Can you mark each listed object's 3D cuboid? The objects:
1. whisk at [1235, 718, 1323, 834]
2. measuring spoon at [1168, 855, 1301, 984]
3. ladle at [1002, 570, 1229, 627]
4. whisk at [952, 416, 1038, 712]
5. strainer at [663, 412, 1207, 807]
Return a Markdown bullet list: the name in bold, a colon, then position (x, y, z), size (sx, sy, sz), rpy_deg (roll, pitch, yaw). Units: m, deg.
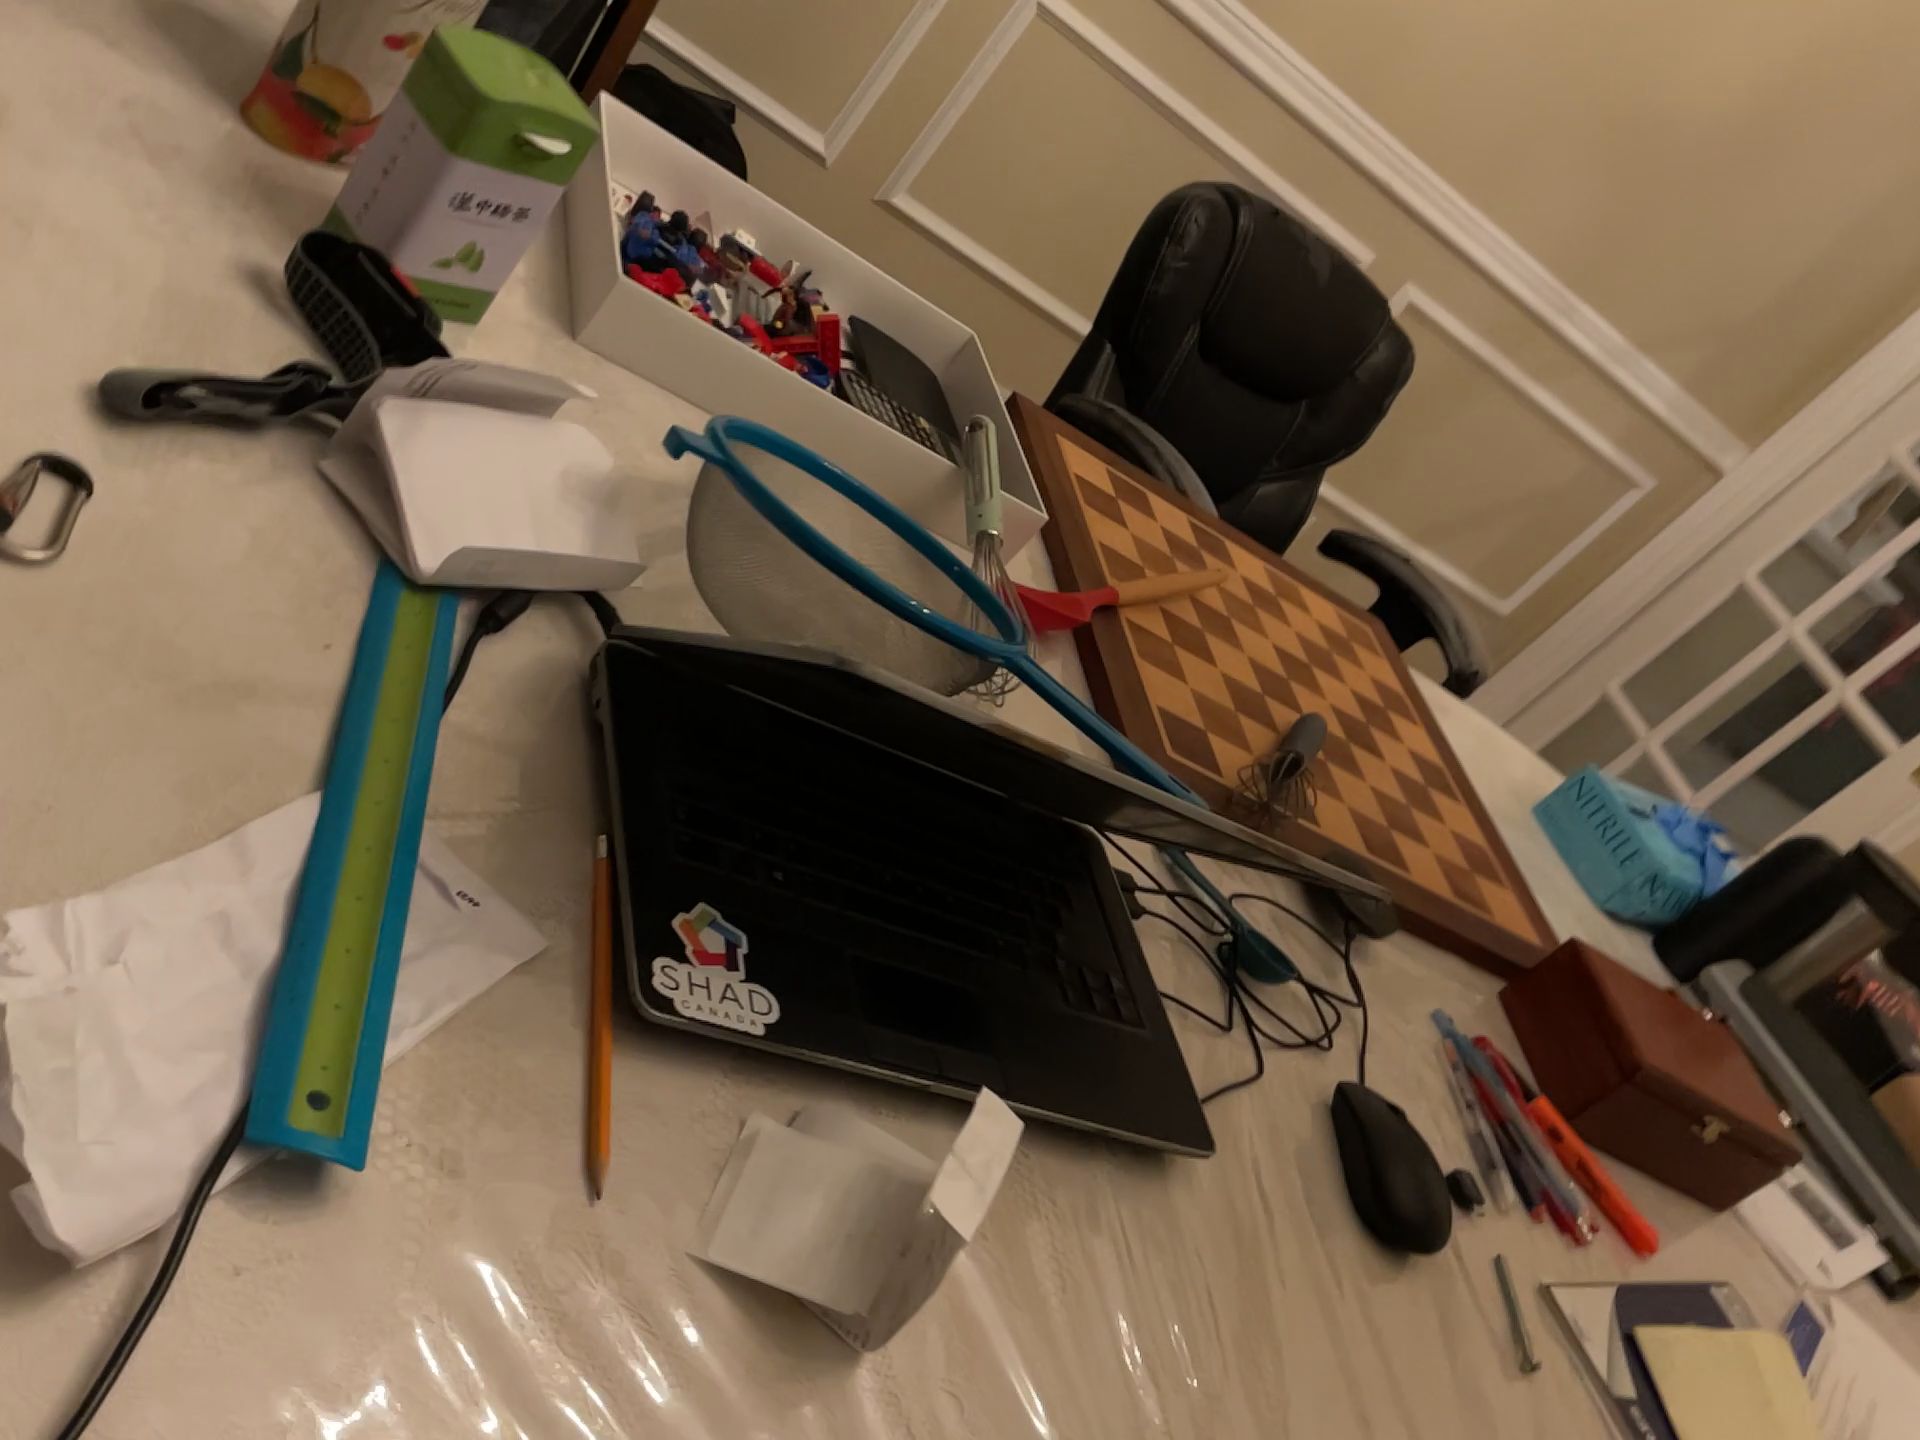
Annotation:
- **whisk**: position (0.242, 0.035, 1.162), size (0.055, 0.055, 0.239), rpy_deg (58, 23, -1)
- **measuring spoon**: position (0.160, 0.120, 0.992), size (0.129, 0.021, 0.042), rpy_deg (46, 17, 31)
- **ladle**: position (0.129, -0.099, 1.213), size (0.069, 0.031, 0.315), rpy_deg (32, 25, 28)
- **whisk**: position (0.016, -0.110, 1.046), size (0.059, 0.058, 0.247), rpy_deg (57, 24, -51)
- **strainer**: position (-0.022, -0.027, 0.858), size (0.340, 0.095, 0.211), rpy_deg (40, 14, 4)
